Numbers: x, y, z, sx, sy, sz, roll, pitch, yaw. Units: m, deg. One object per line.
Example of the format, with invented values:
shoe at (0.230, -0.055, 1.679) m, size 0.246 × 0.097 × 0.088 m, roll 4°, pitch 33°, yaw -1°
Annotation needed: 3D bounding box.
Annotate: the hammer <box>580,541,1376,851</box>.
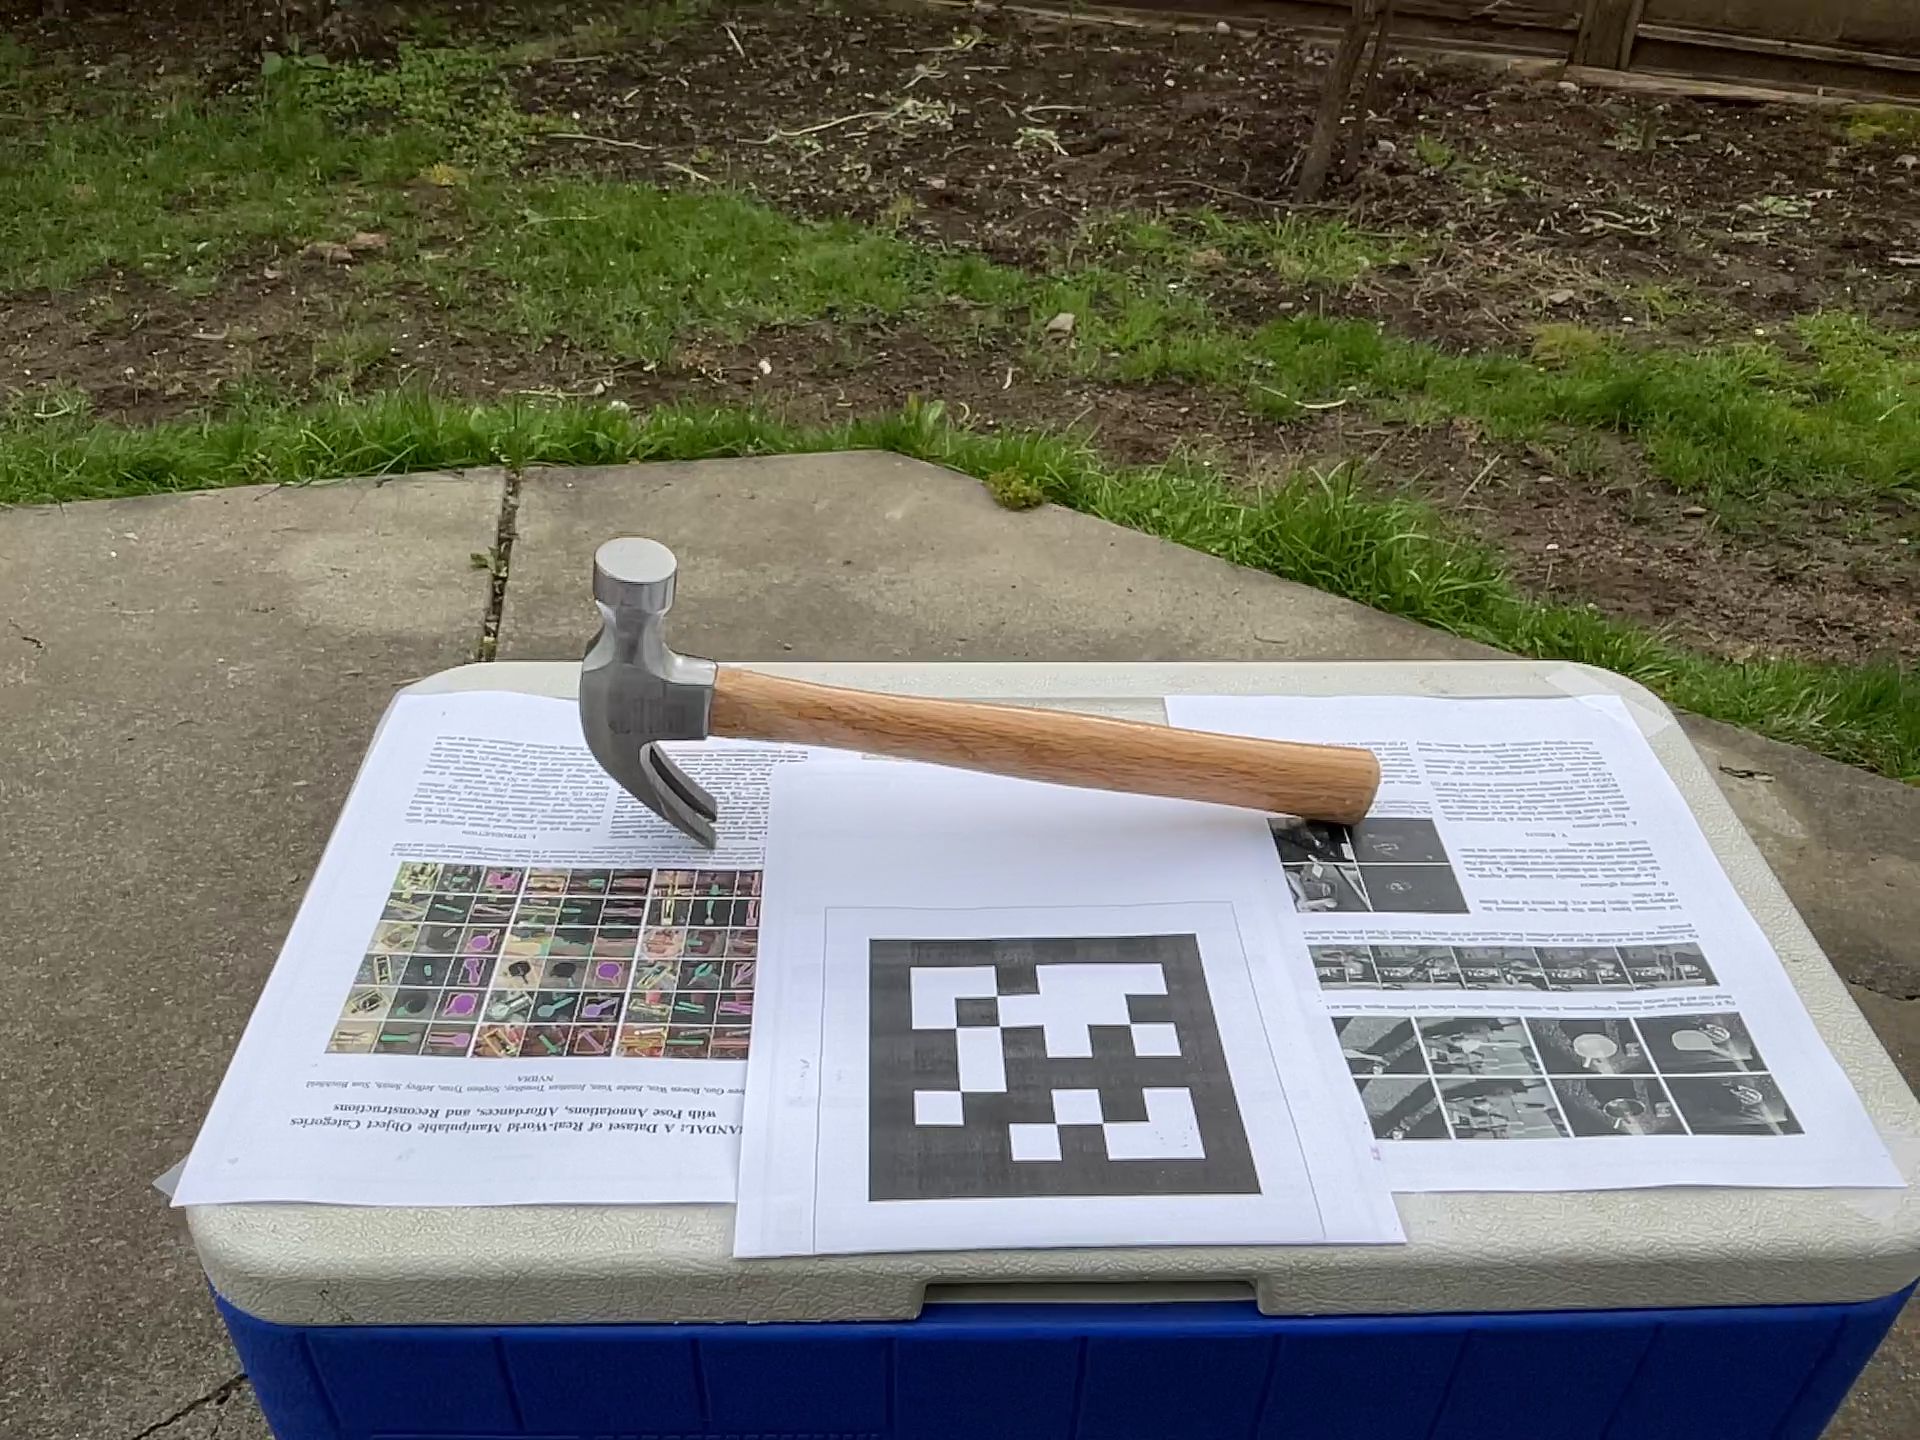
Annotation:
hammer at (0.011, 0.010, 0.663) m, size 0.331 × 0.130 × 0.031 m, roll 8°, pitch 38°, yaw -9°
